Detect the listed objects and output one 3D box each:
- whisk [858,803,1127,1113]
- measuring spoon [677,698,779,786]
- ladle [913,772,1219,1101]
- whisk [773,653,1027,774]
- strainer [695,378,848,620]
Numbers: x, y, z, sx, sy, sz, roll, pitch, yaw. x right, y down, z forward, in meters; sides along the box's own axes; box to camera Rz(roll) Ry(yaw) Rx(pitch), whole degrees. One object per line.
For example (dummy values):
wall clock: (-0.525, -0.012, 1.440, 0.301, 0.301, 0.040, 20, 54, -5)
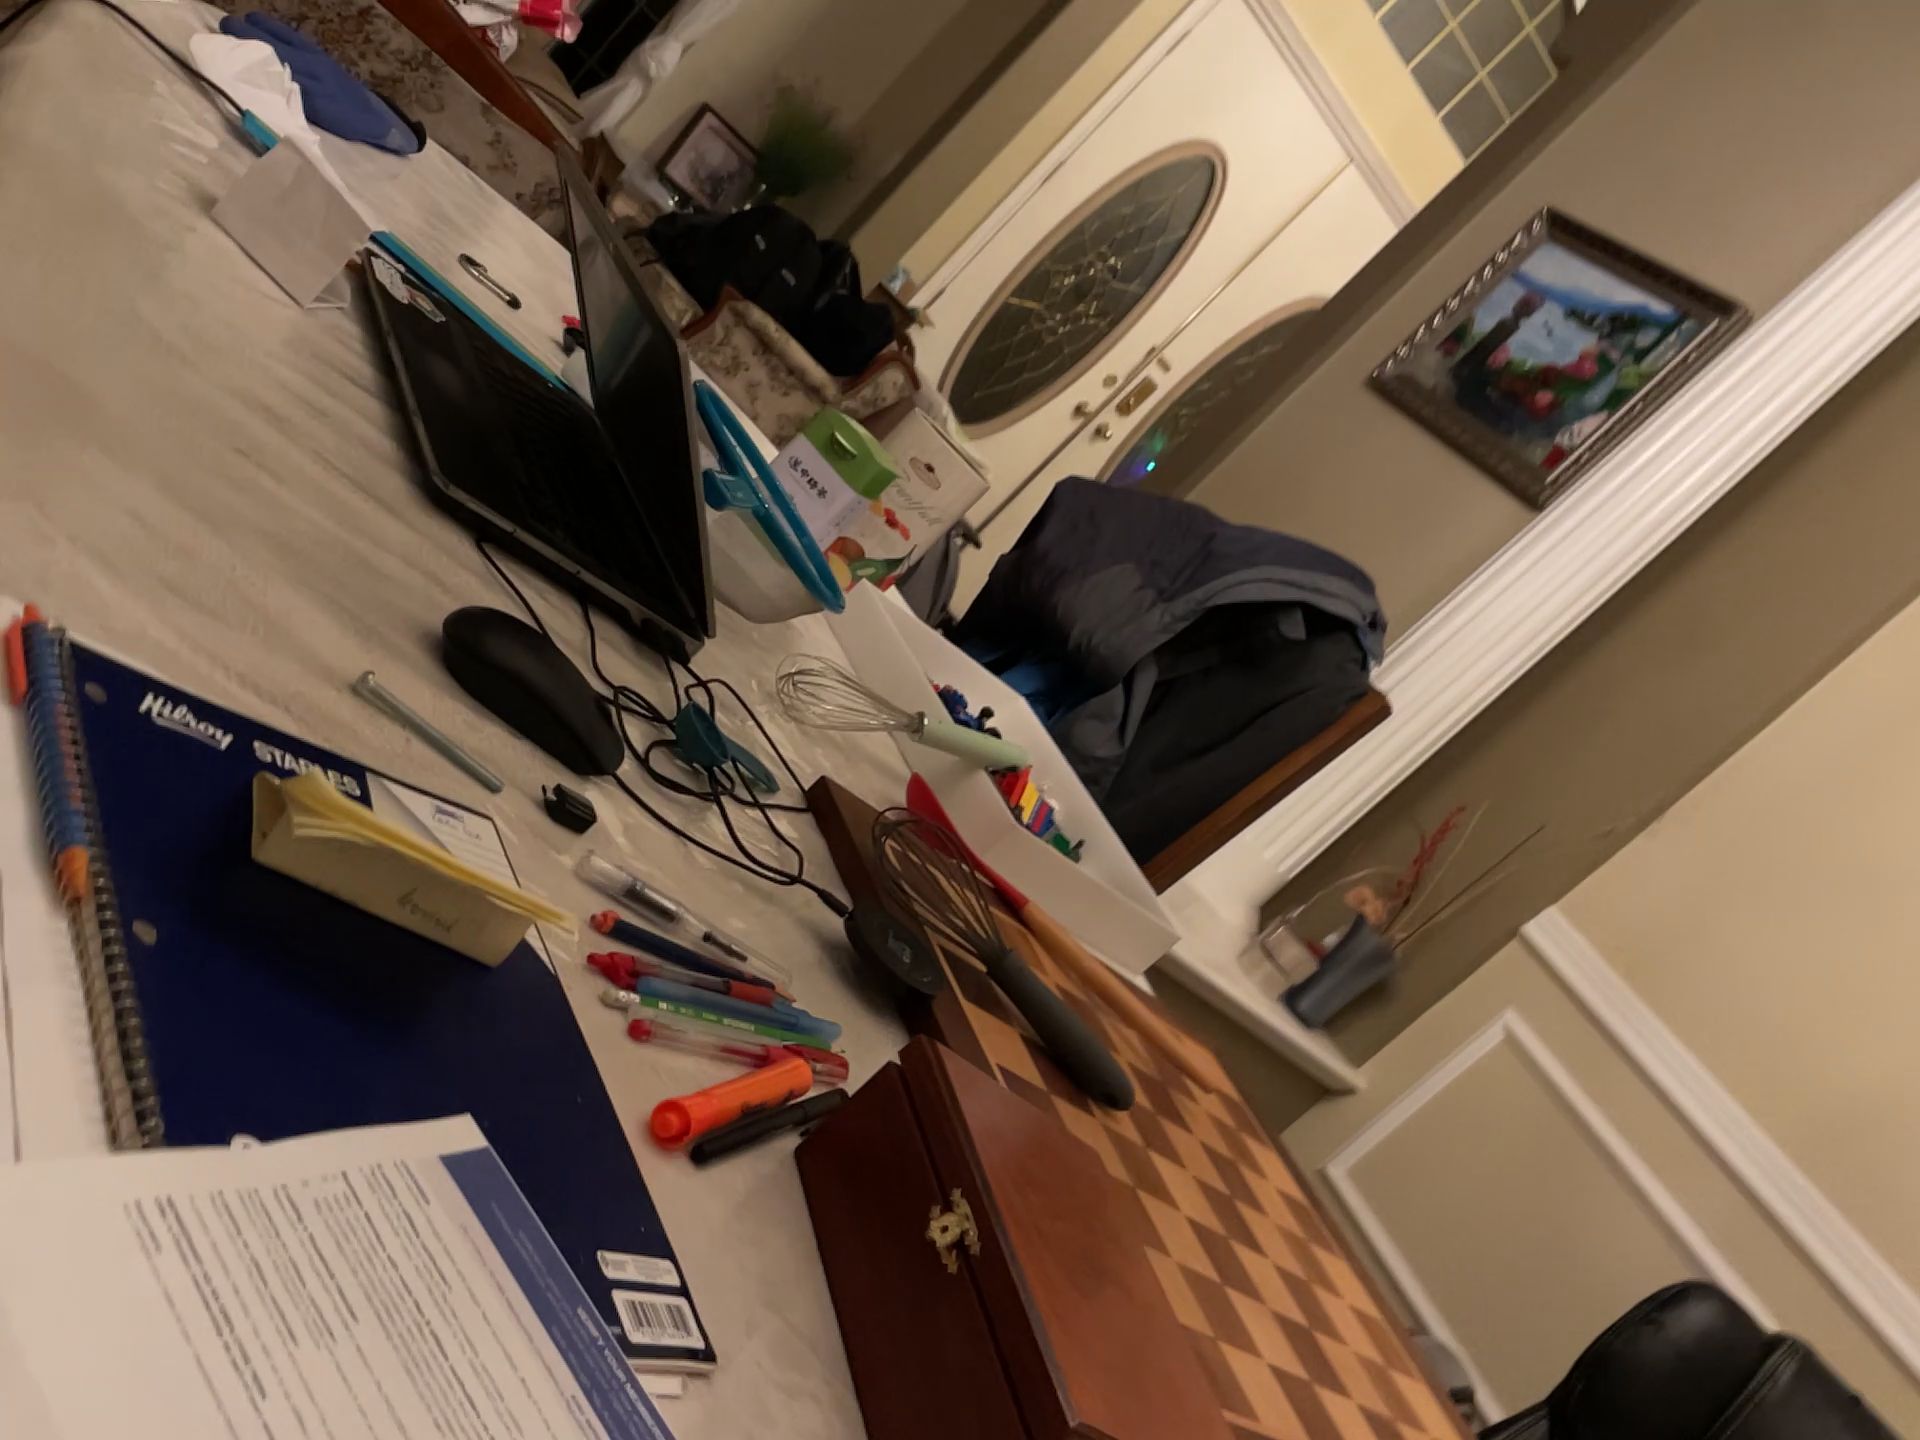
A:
whisk: (0.022, 0.149, 0.977, 0.239, 0.055, 0.055, 50, 24, -1)
measuring spoon: (-0.141, 0.023, 0.965, 0.042, 0.021, 0.128, 59, 3, 23)
ladle: (0.069, 0.156, 1.152, 0.315, 0.031, 0.069, 44, -12, 15)
whisk: (-0.041, 0.002, 1.221, 0.246, 0.058, 0.059, 19, 56, -37)
strainer: (-0.183, -0.145, 1.173, 0.211, 0.095, 0.340, 59, 5, -4)
